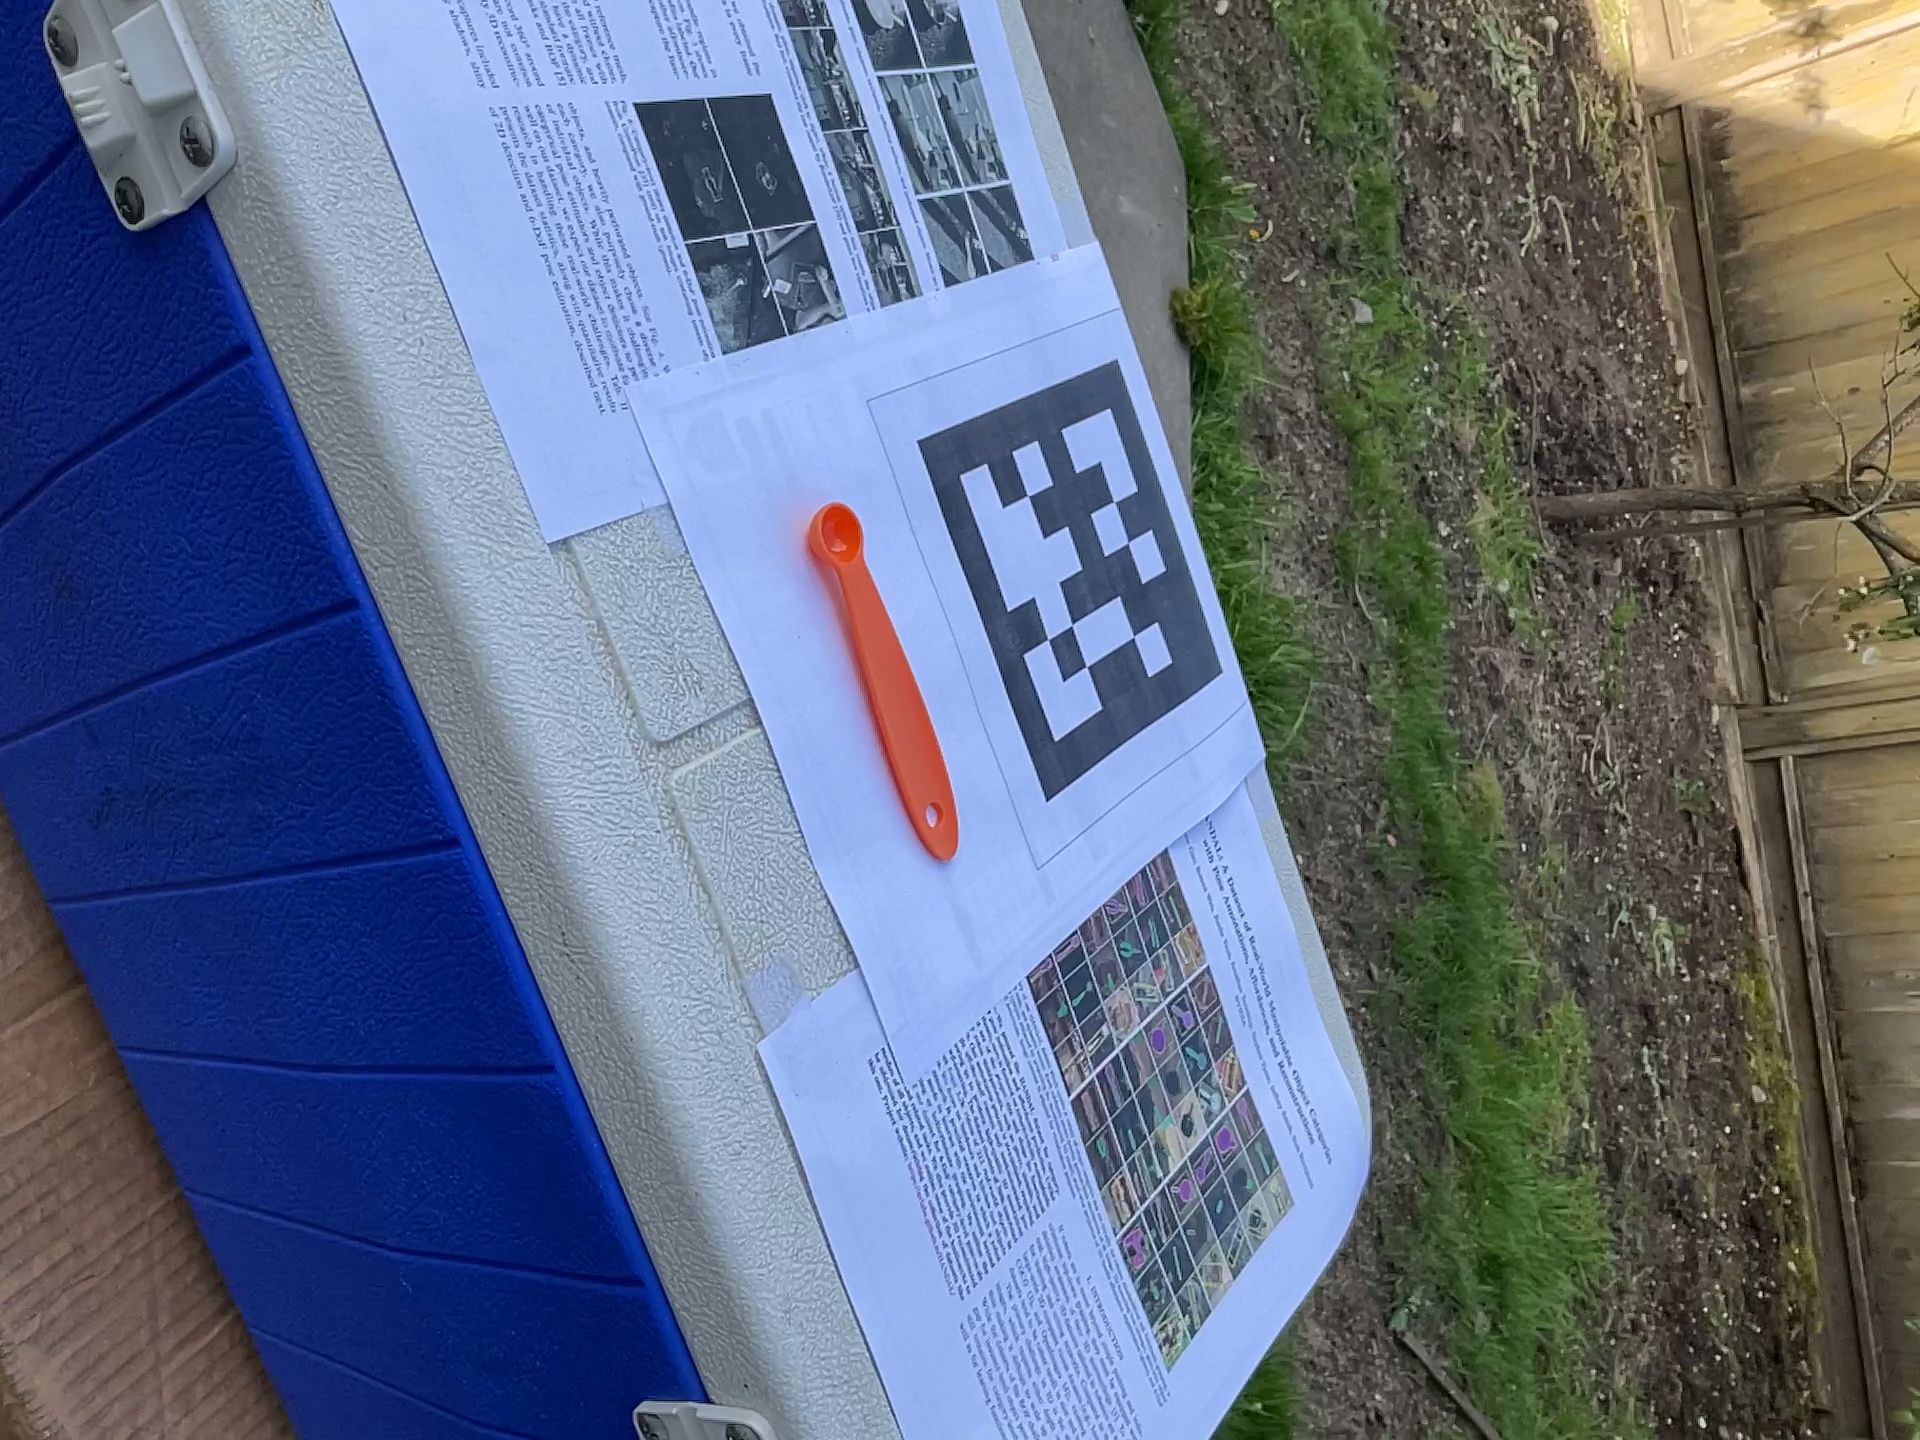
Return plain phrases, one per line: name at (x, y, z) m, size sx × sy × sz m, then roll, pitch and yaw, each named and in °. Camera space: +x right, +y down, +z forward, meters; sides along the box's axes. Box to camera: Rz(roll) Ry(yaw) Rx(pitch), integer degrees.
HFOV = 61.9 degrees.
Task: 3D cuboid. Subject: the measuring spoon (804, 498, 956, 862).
measuring spoon at (-0.024, -0.010, 0.483) m, size 0.021 × 0.011 × 0.116 m, roll -35°, pitch 112°, yaw -48°
